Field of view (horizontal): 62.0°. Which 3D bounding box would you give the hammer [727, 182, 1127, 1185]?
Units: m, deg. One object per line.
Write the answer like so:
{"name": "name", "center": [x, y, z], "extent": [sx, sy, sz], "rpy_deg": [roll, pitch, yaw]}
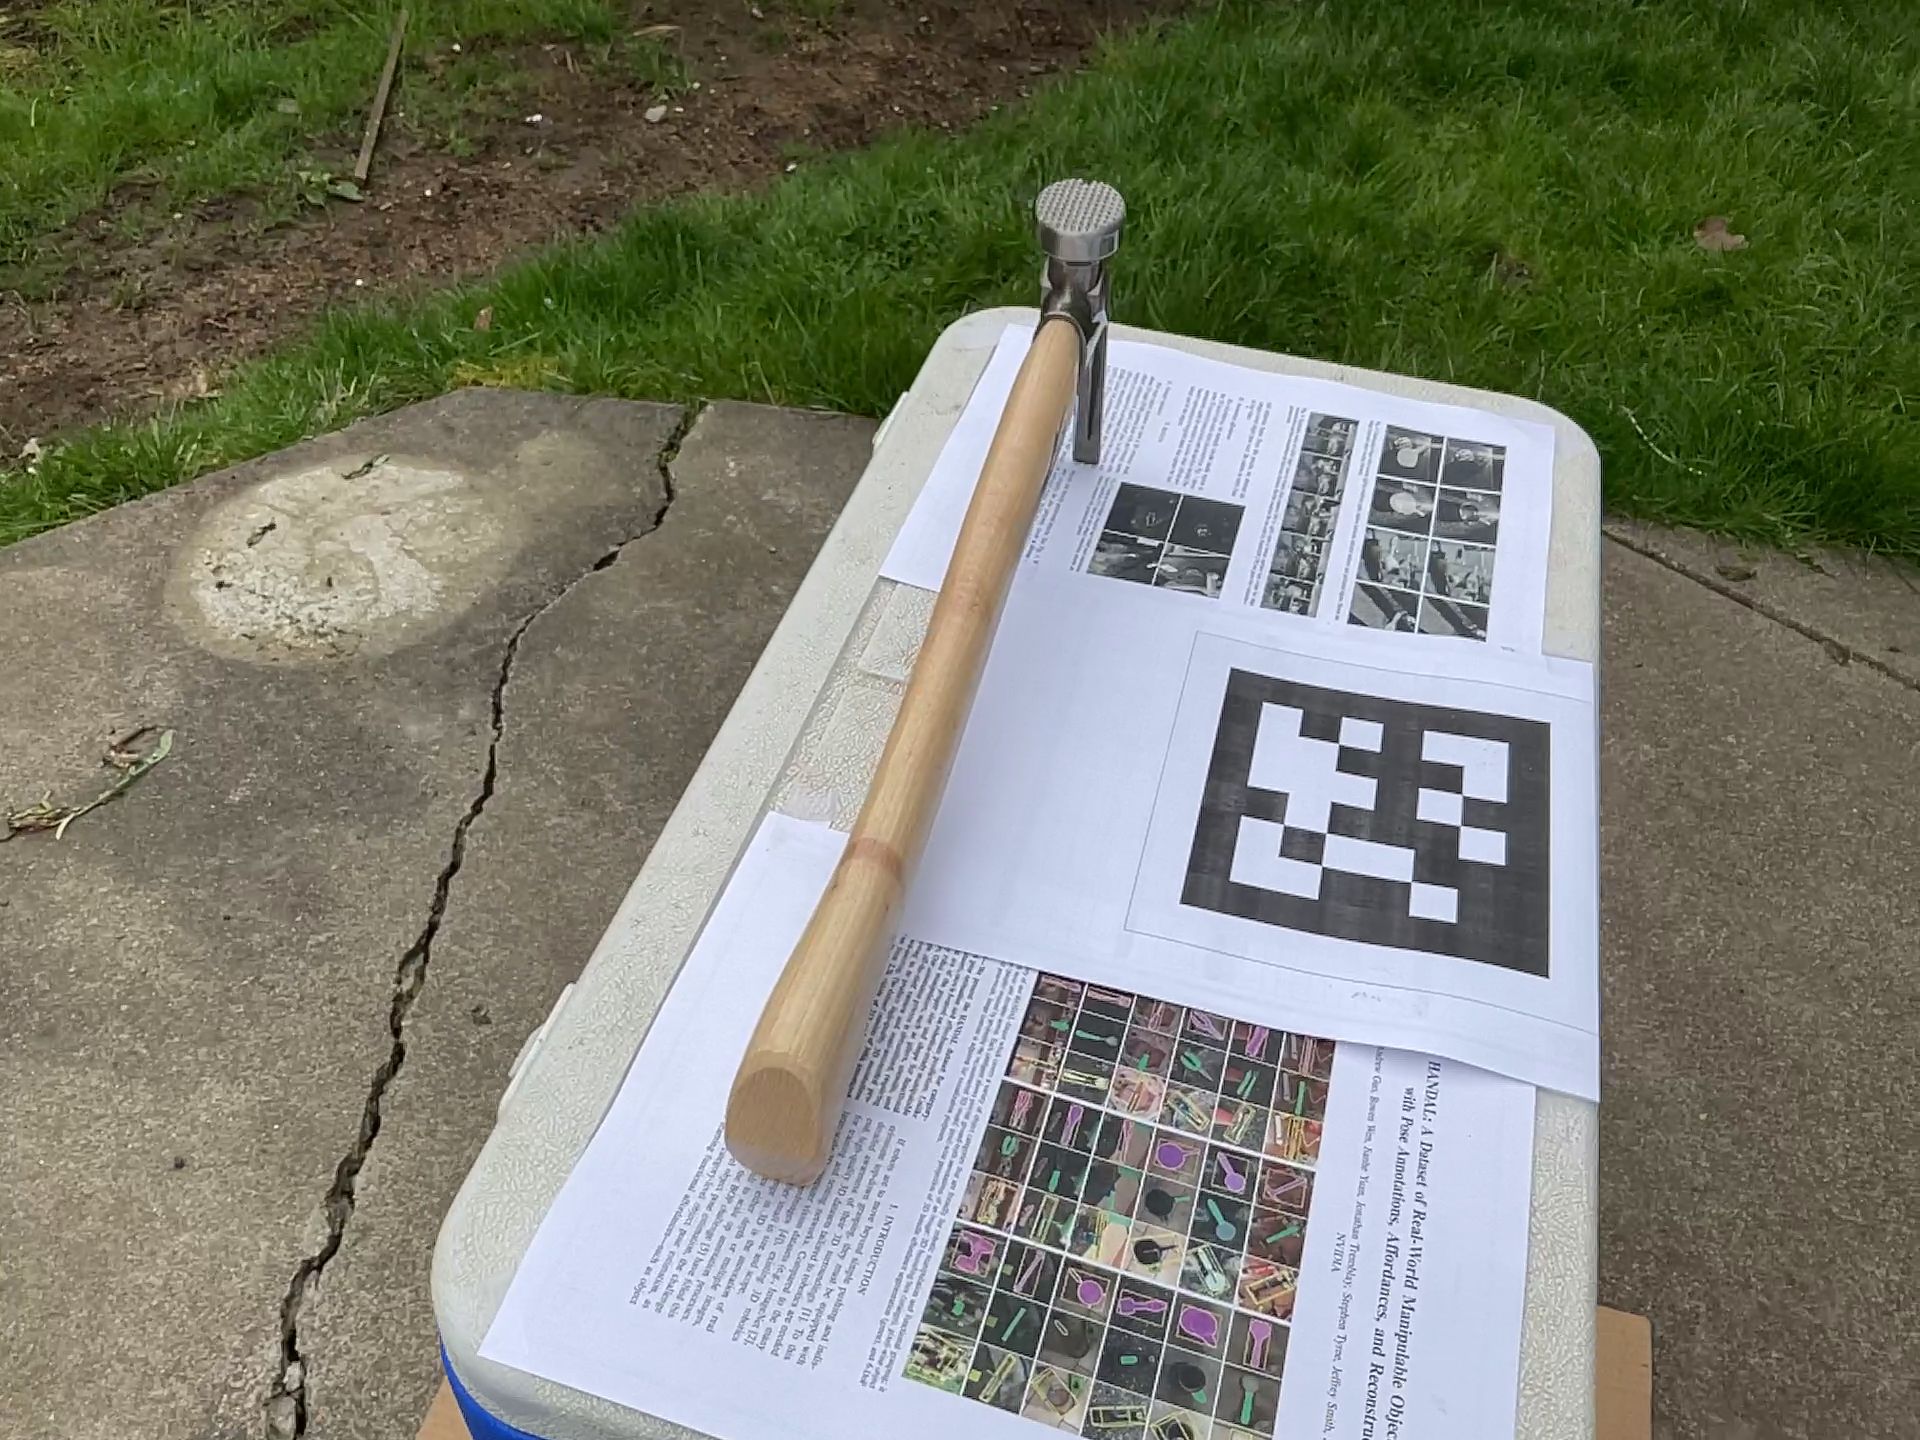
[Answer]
{"name": "hammer", "center": [-0.001, -0.021, 0.606], "extent": [0.038, 0.146, 0.411], "rpy_deg": [12, 56, 10]}
